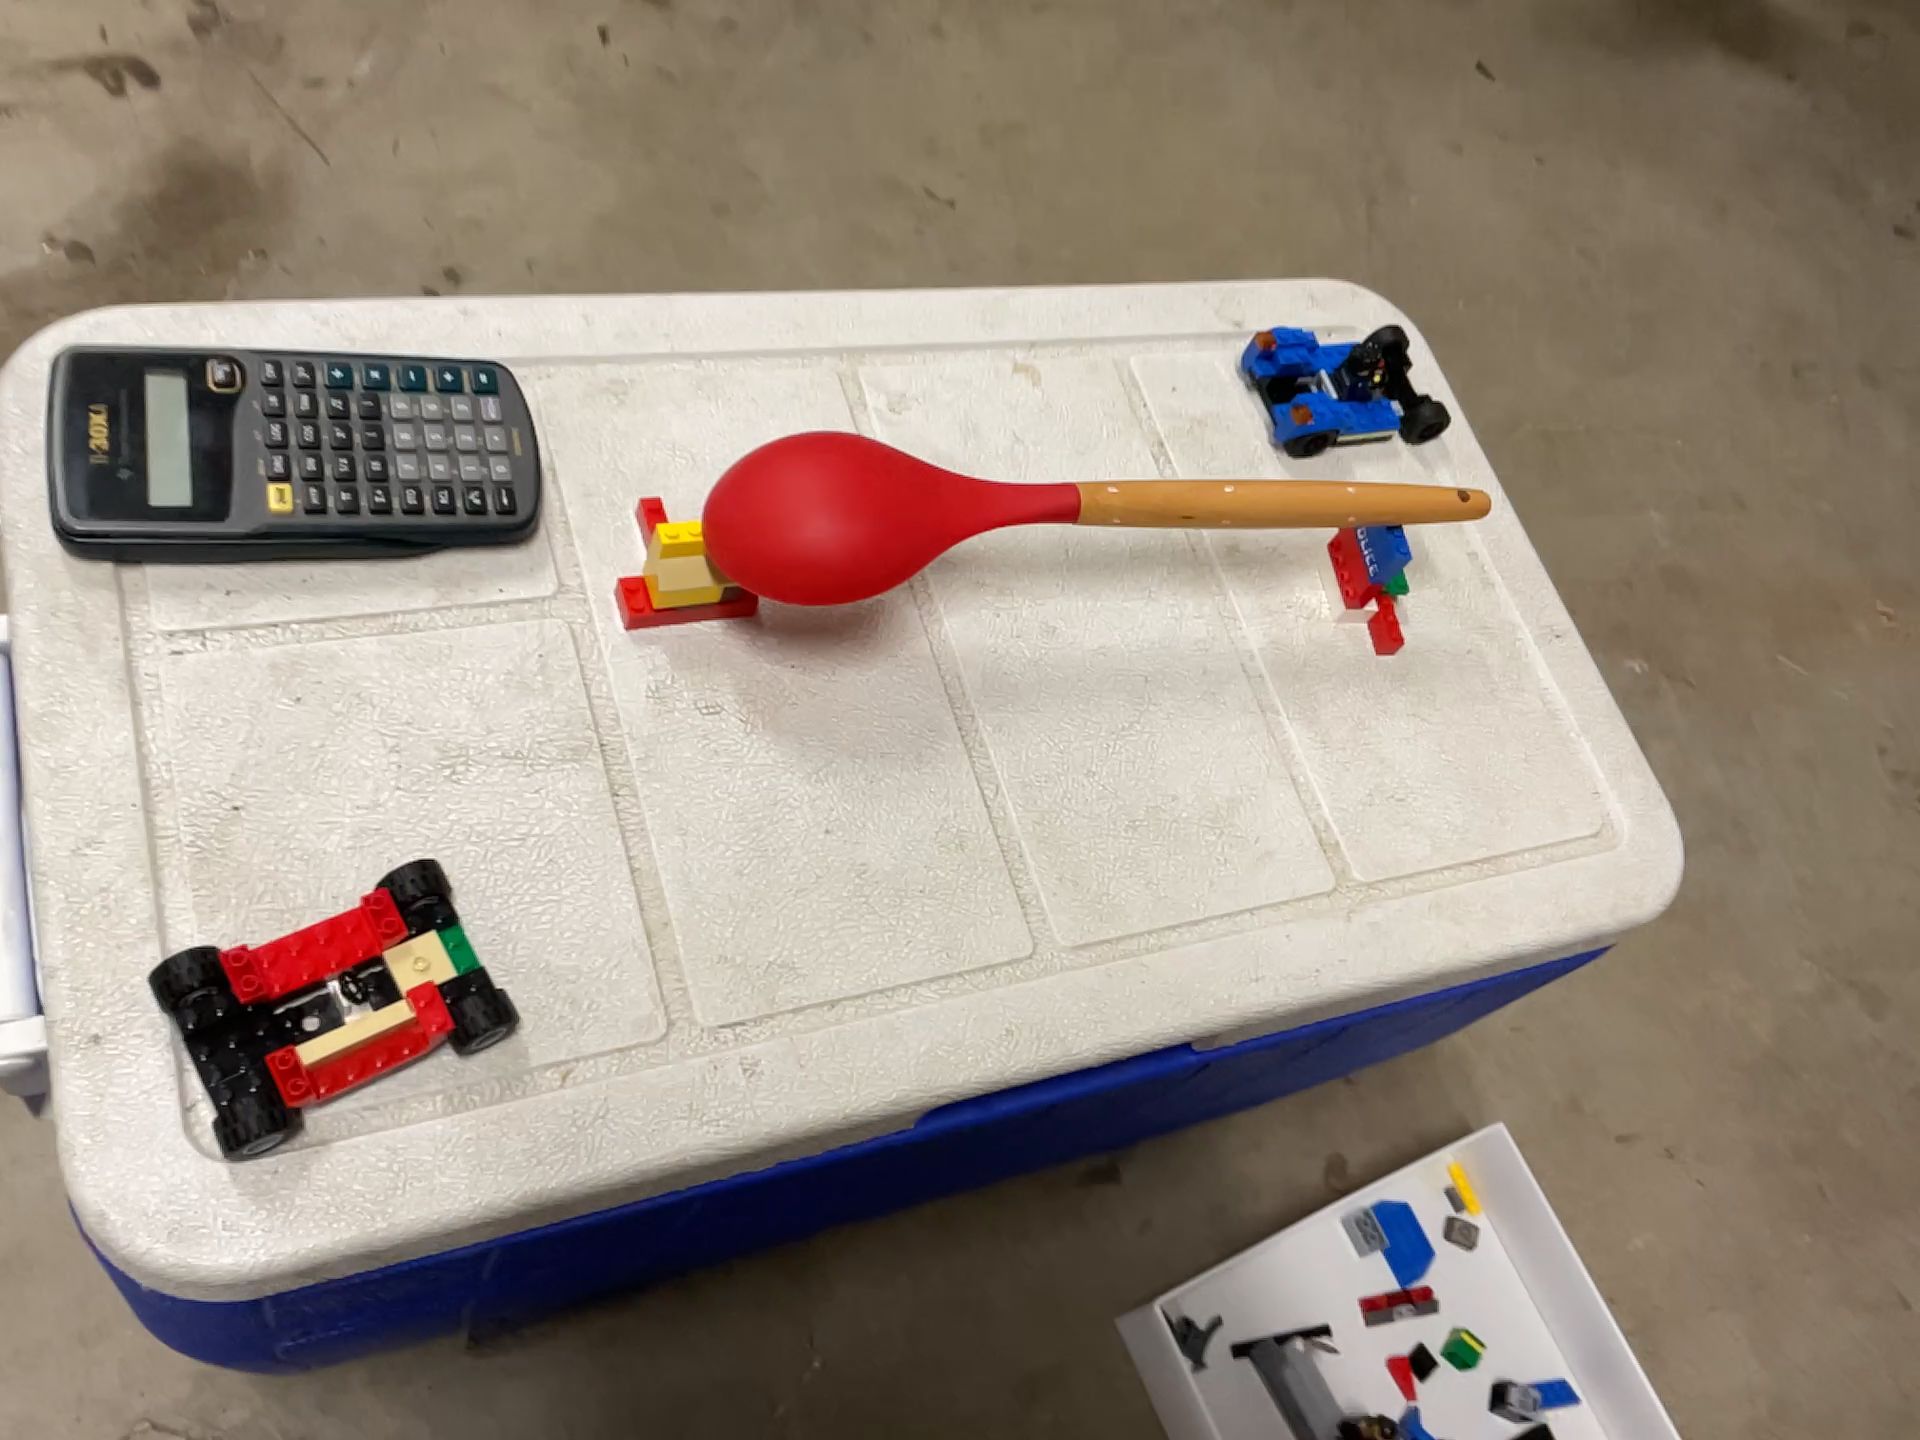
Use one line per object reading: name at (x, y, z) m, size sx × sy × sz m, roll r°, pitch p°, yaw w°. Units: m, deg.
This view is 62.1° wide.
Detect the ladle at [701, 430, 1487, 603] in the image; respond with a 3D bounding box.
ladle at (0.064, -0.077, 0.582) m, size 0.315 × 0.031 × 0.069 m, roll -3°, pitch 63°, yaw -23°
